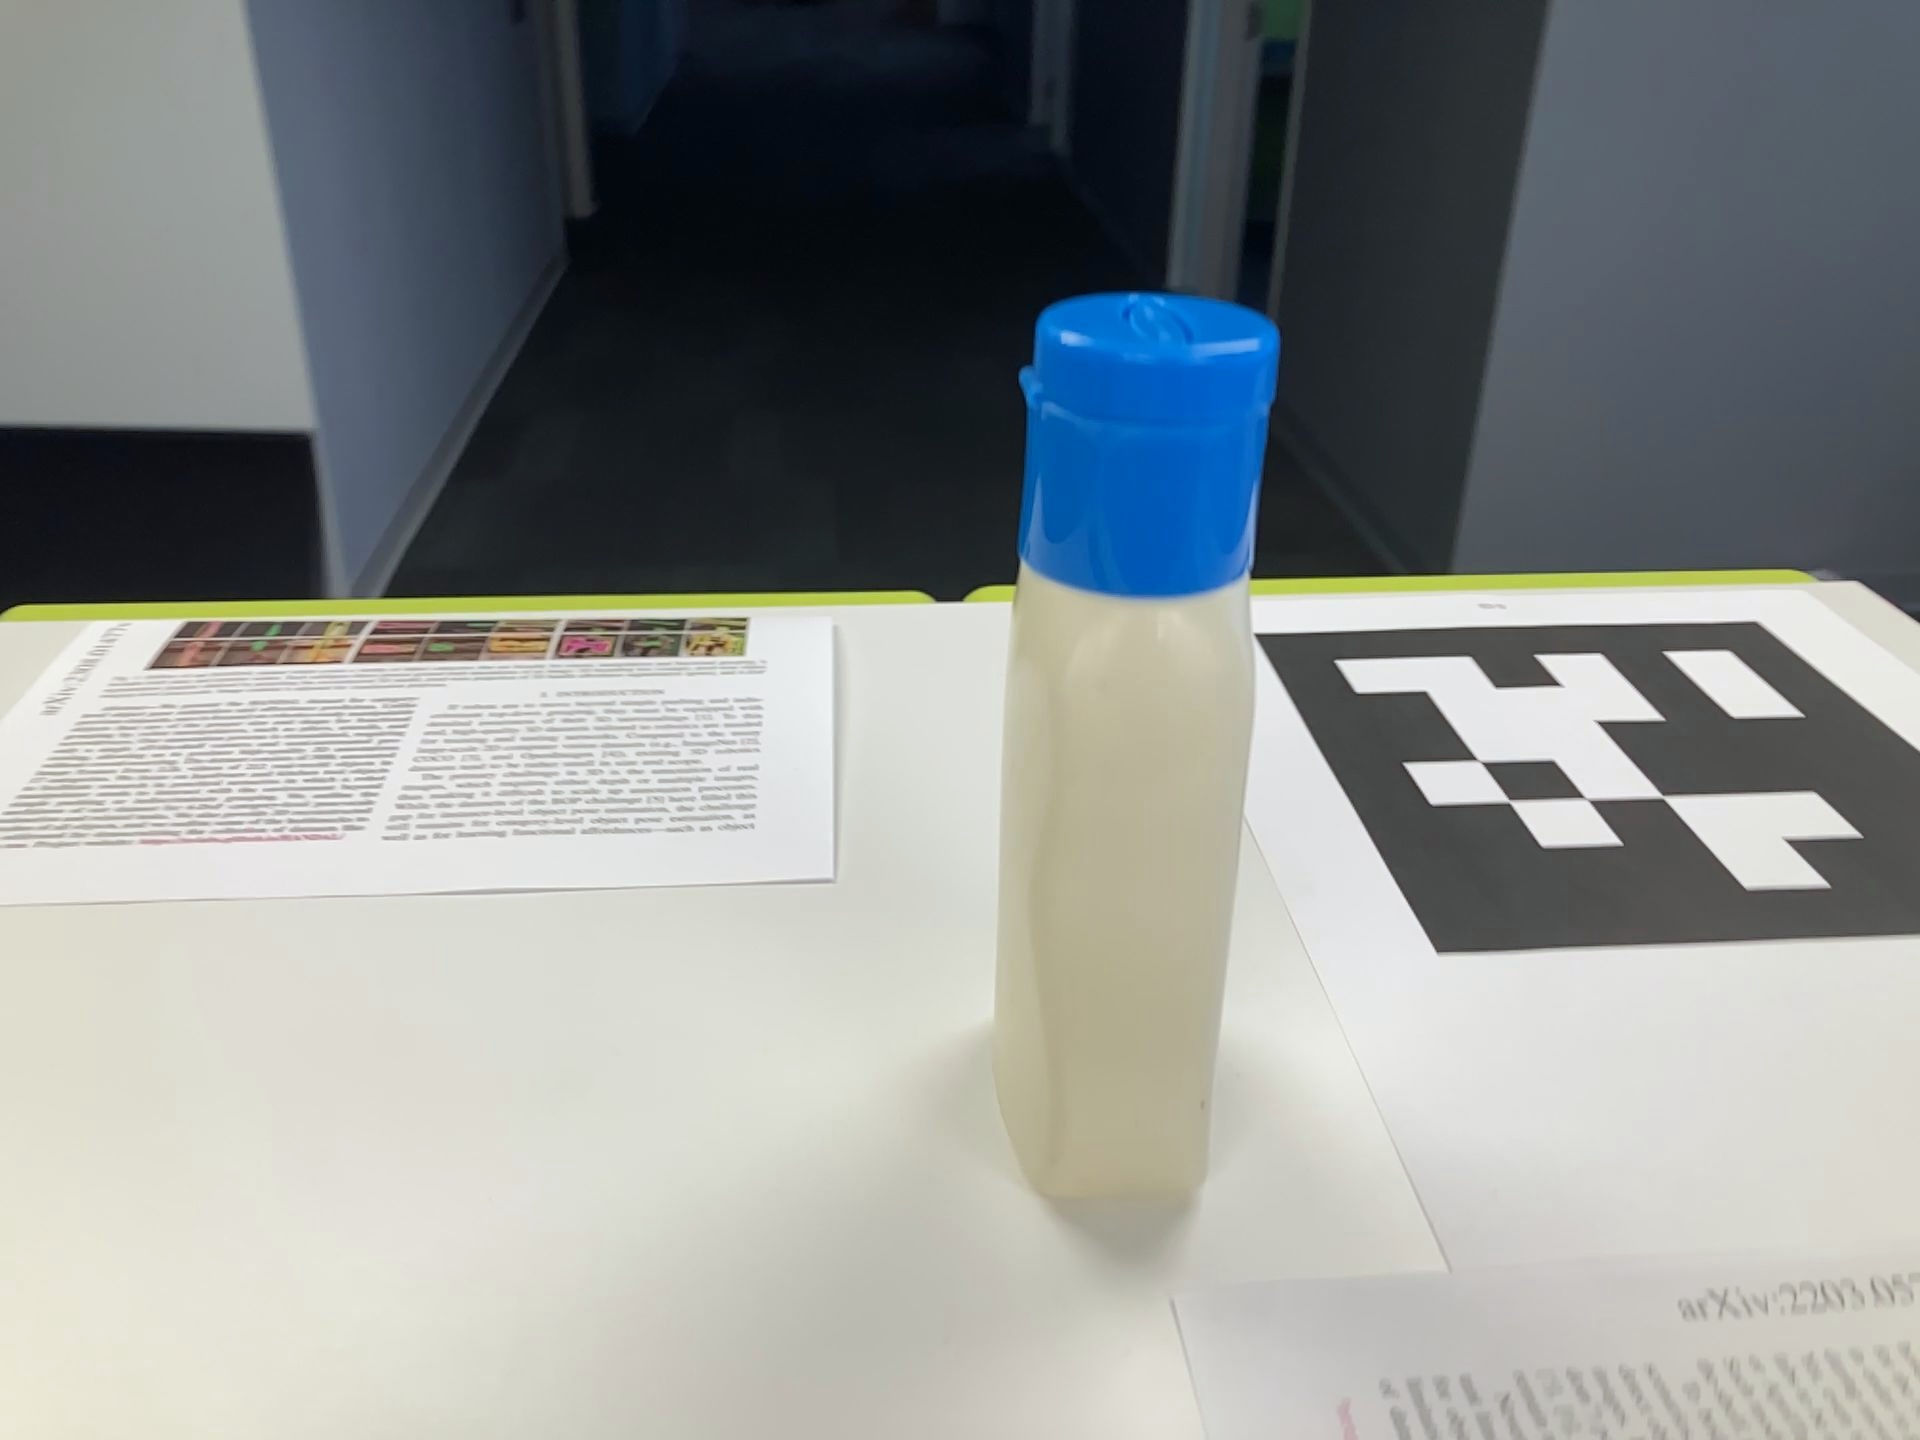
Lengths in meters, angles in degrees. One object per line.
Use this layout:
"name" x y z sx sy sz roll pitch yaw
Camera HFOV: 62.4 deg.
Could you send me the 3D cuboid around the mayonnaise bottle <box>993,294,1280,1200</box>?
"mayonnaise bottle" 0.028 0.007 0.267 0.041 0.148 0.065 -1 28 -5
